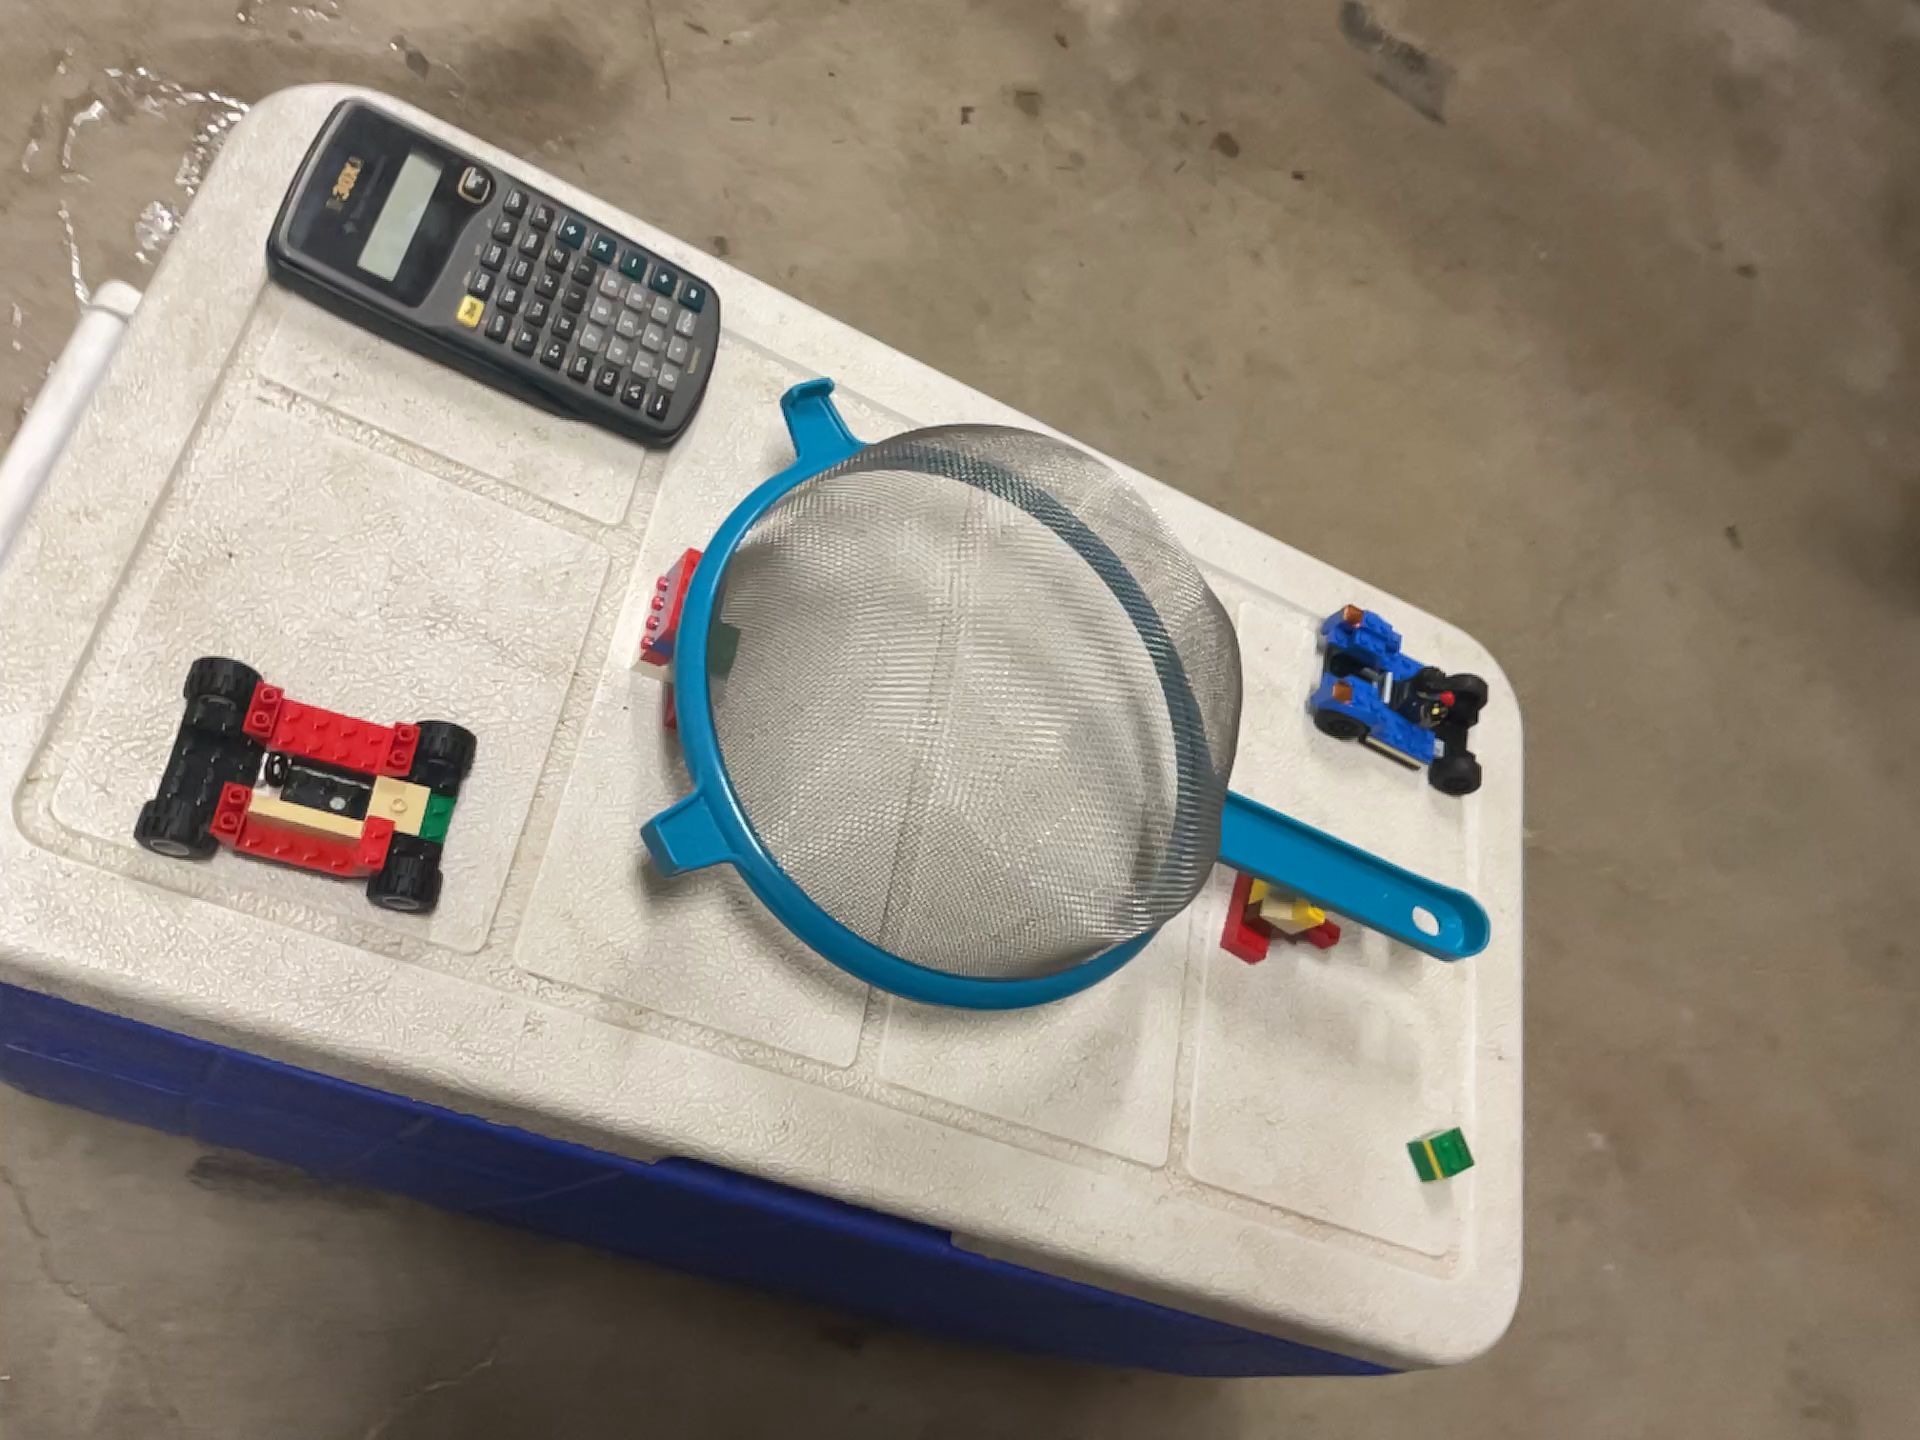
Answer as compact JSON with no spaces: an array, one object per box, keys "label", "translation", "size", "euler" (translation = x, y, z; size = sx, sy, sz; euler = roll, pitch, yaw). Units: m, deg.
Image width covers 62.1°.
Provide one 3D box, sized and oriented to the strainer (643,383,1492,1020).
[{"label":"strainer","translation":[0.075,0.010,0.550],"size":[0.340,0.095,0.211],"euler":[24,60,-19]}]
